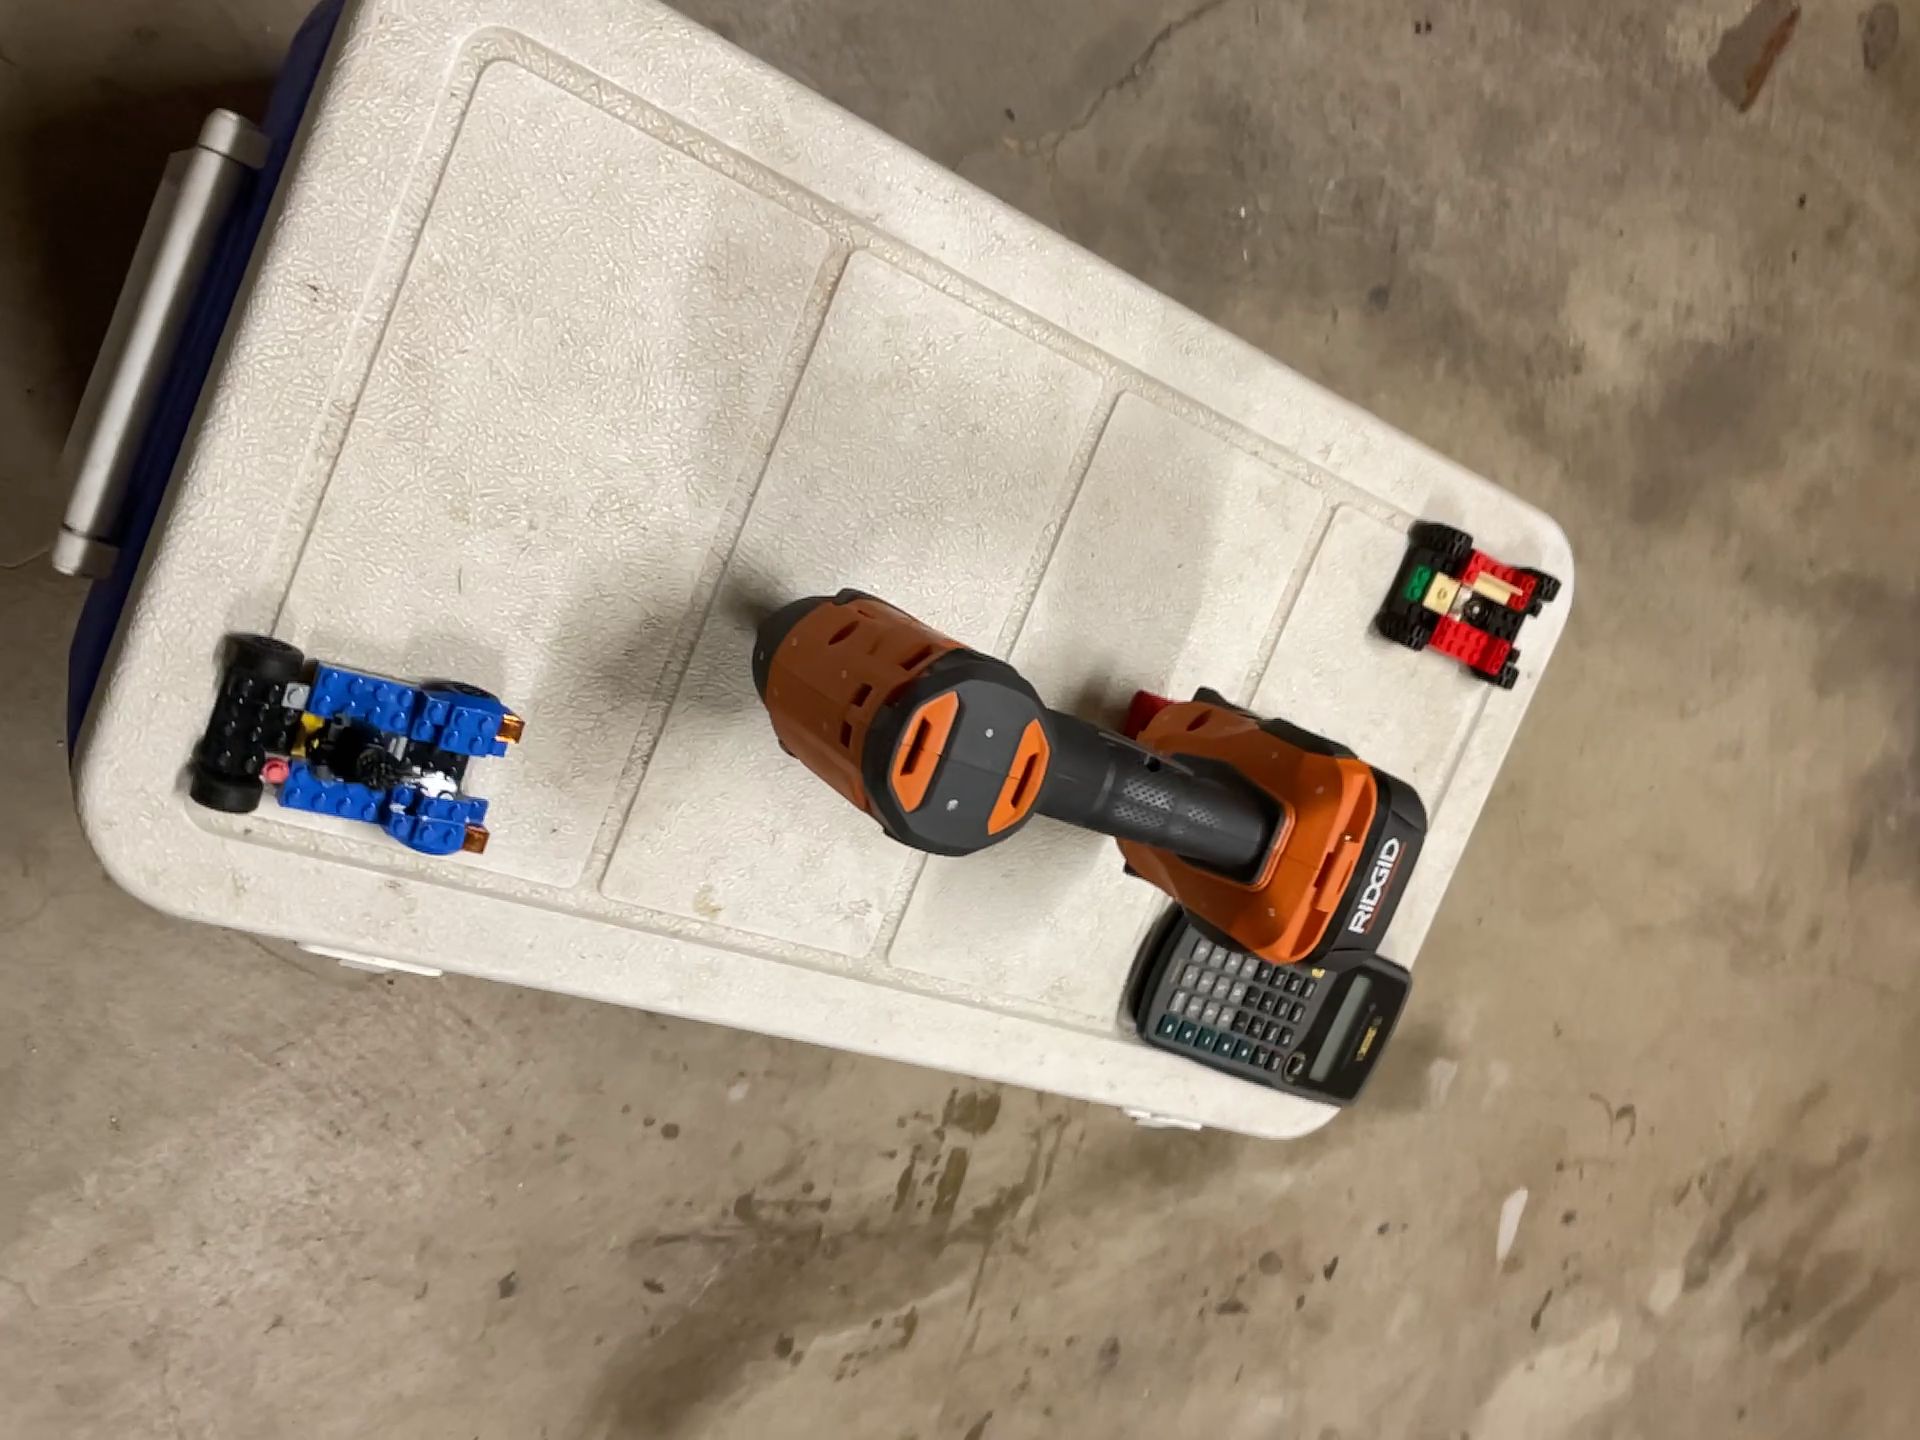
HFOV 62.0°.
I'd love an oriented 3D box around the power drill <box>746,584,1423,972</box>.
[{"bbox_3d":[0.034,0.013,0.571,0.226,0.164,0.084,18,97,-32],"label":"power drill"}]
